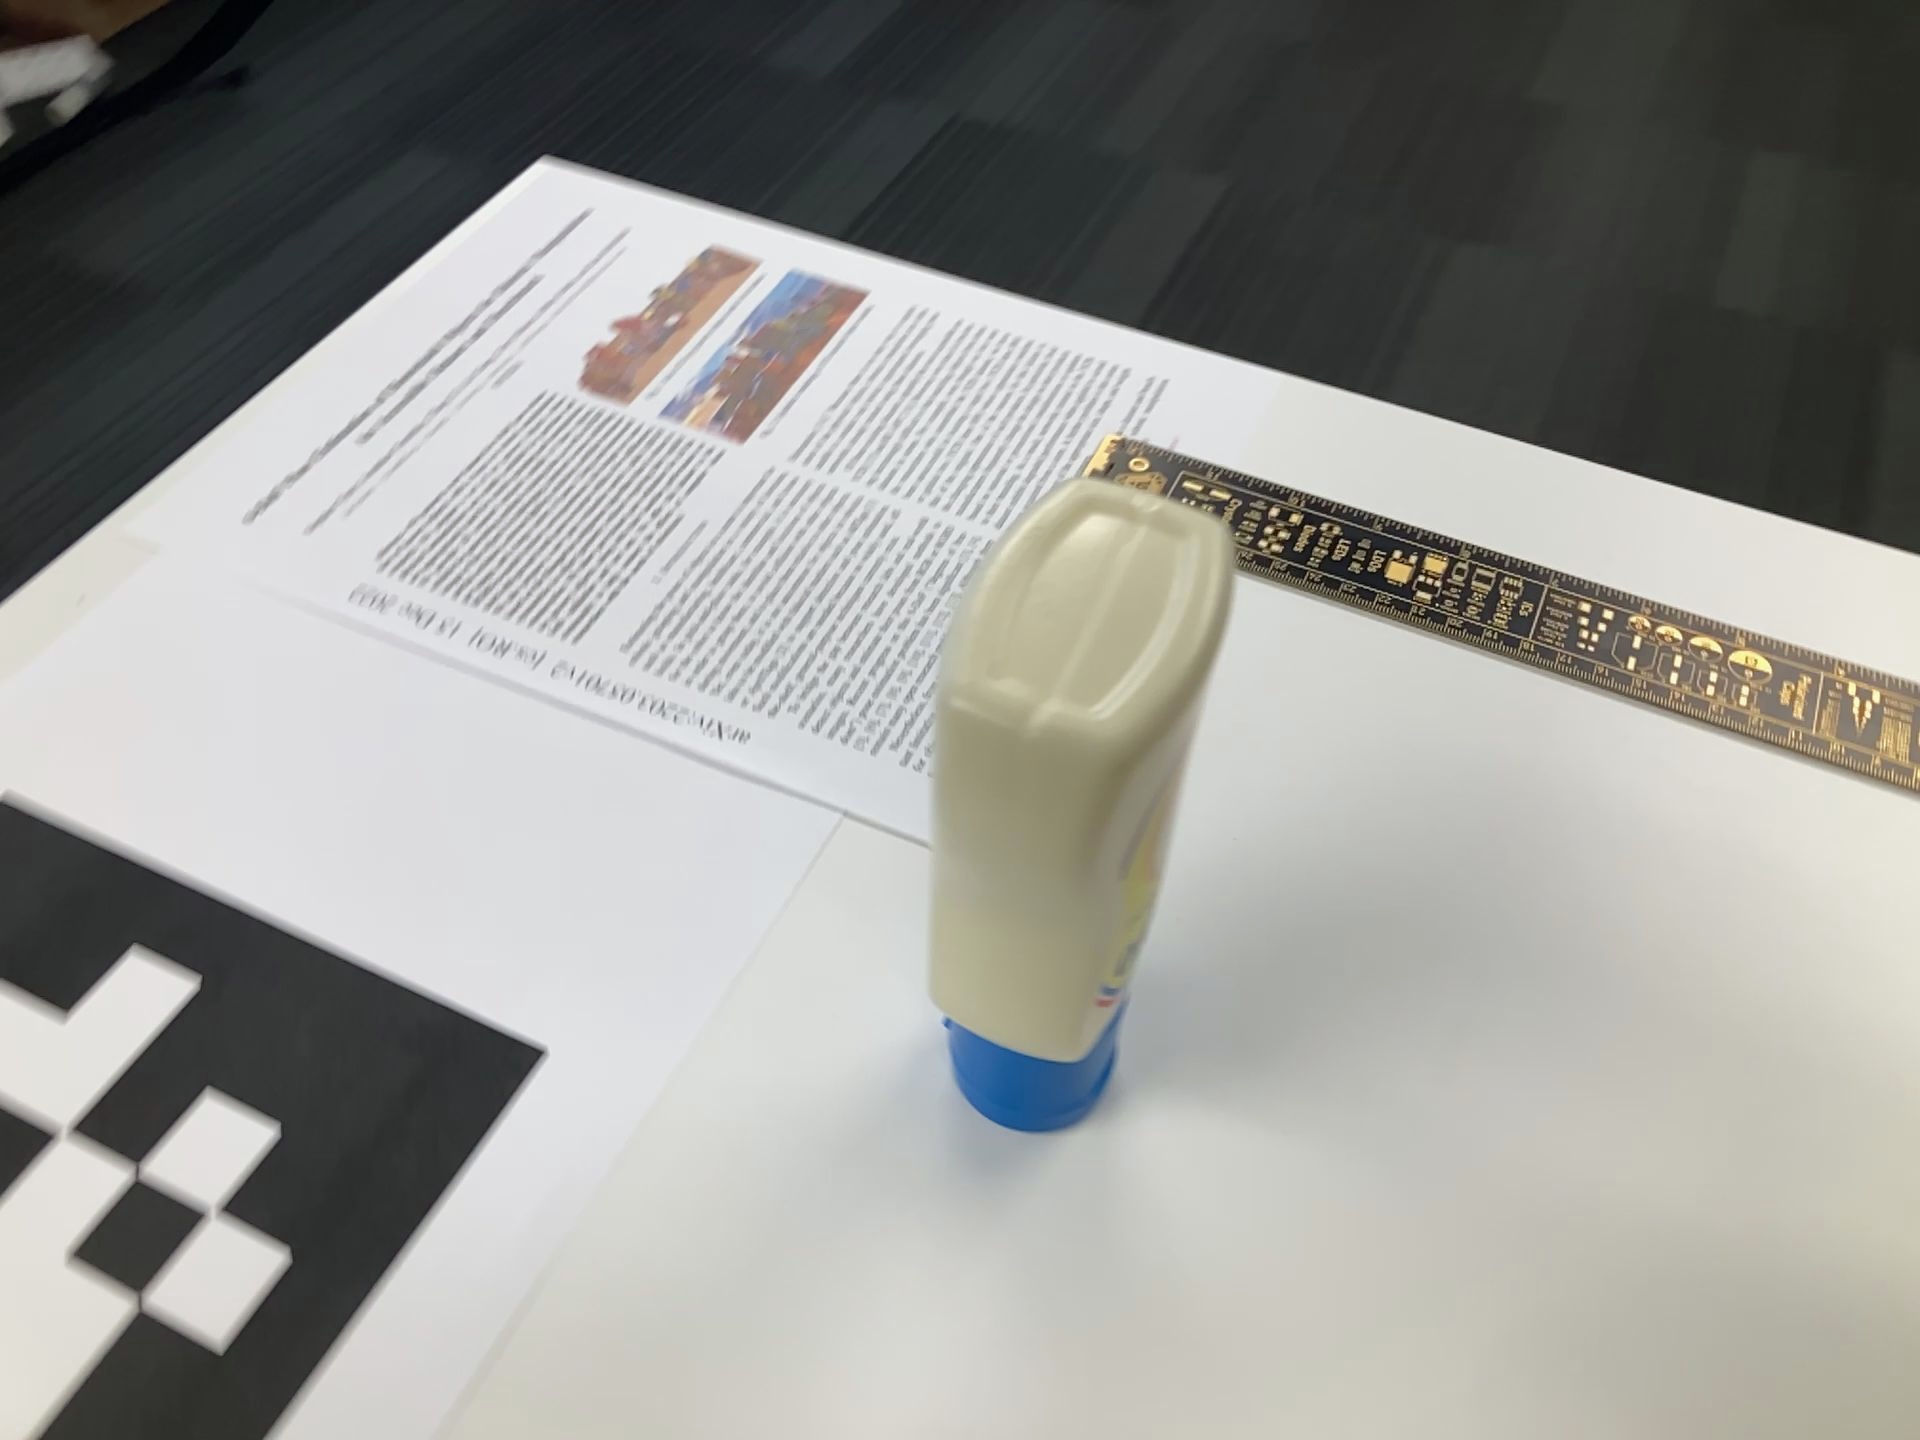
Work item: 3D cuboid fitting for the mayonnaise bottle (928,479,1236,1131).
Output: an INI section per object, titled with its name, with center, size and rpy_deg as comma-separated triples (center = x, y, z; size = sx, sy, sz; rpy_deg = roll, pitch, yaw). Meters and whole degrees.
[mayonnaise bottle]
center = 0.018, 0.028, 0.298
size = 0.041, 0.148, 0.065
rpy_deg = 20, 53, 14
